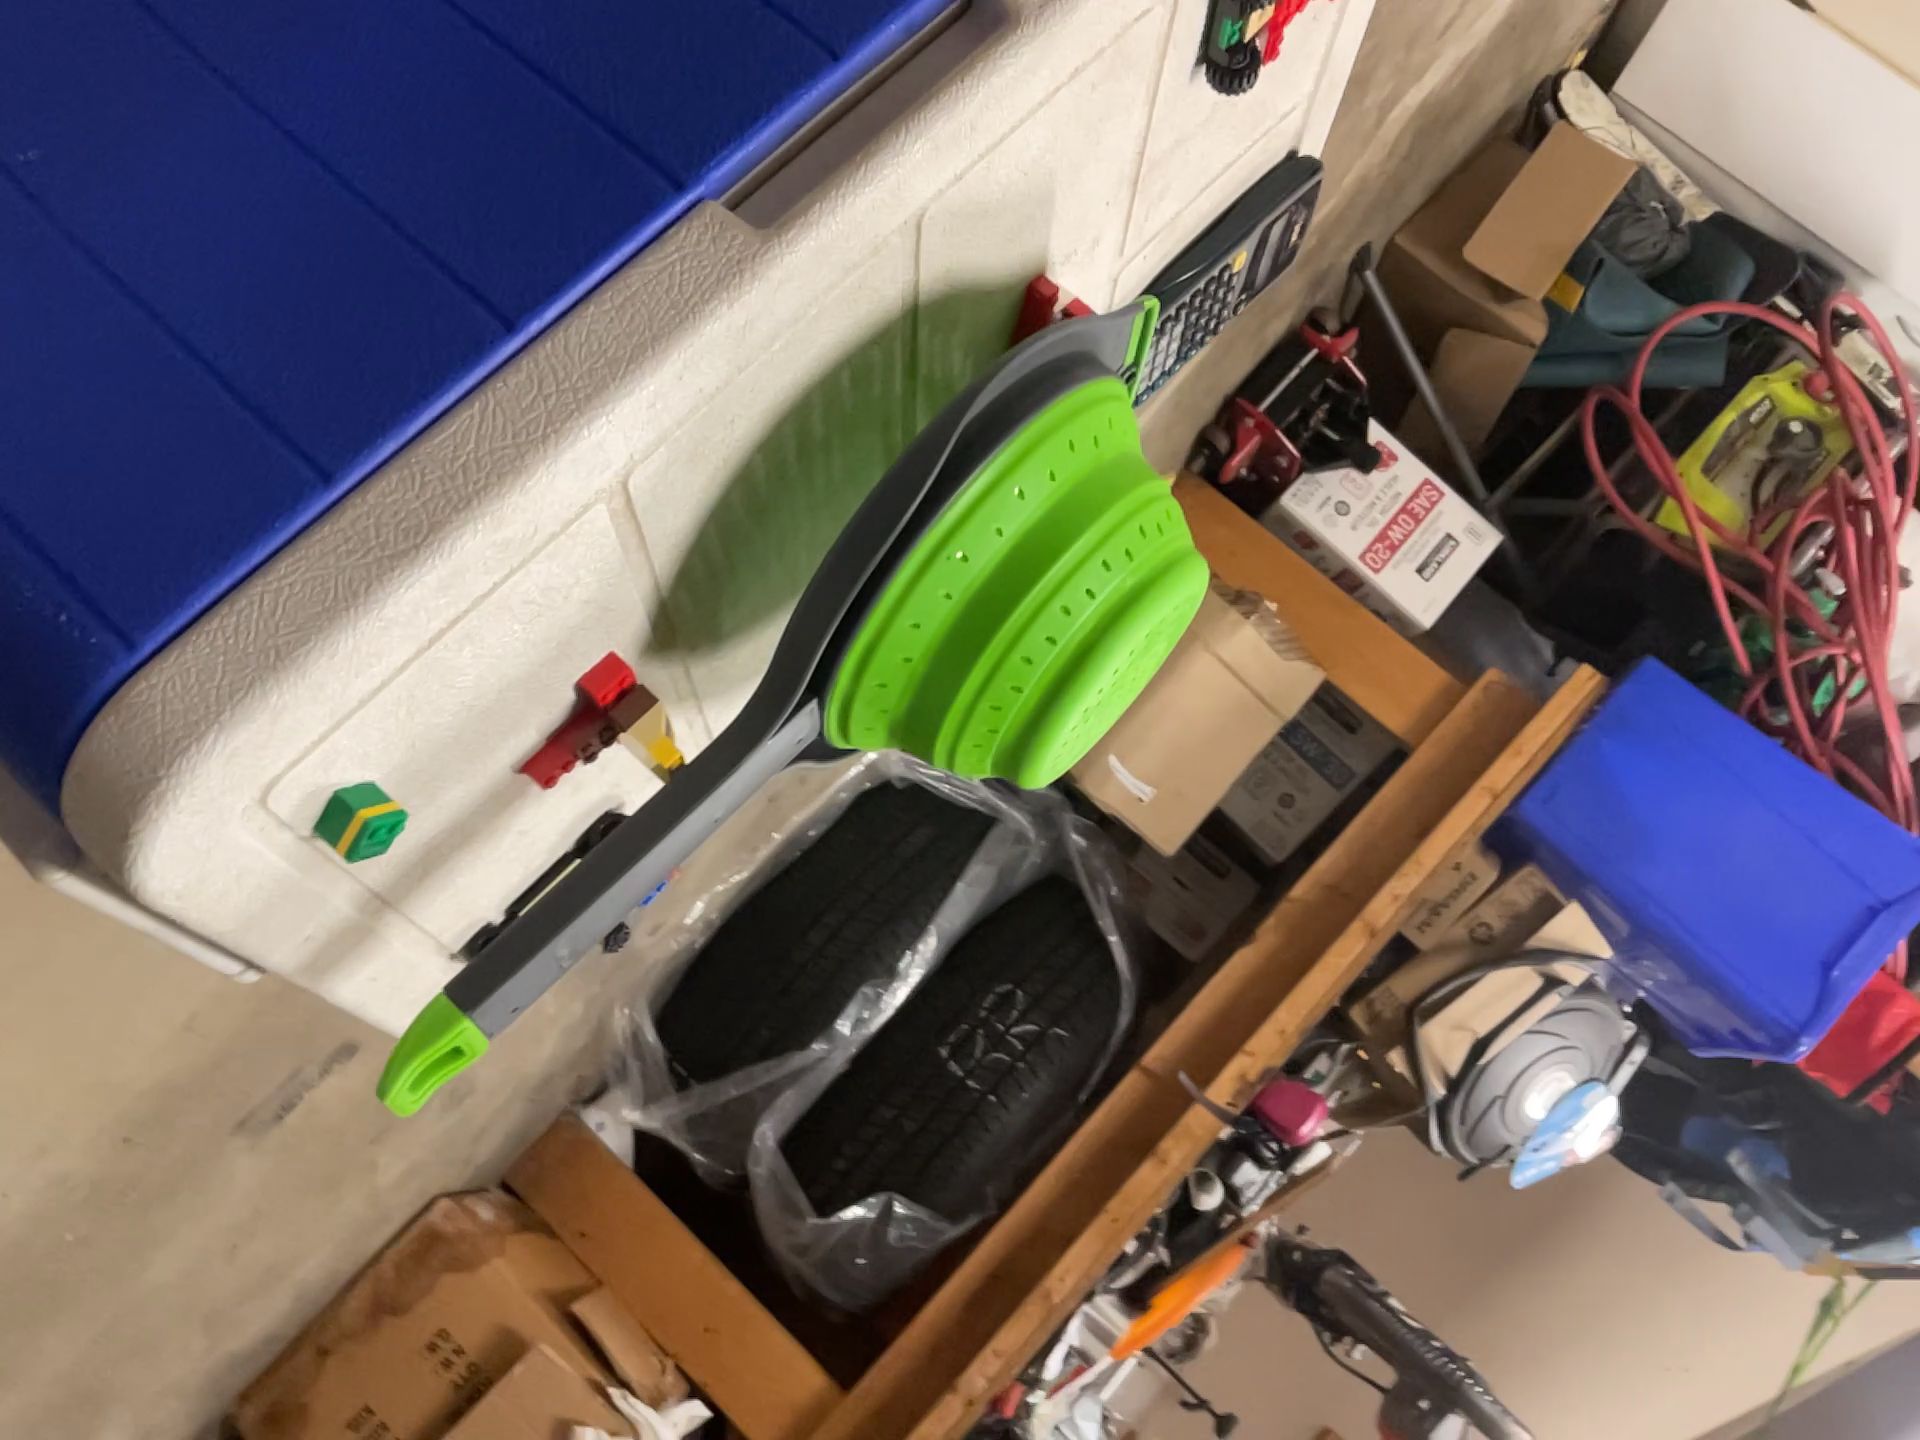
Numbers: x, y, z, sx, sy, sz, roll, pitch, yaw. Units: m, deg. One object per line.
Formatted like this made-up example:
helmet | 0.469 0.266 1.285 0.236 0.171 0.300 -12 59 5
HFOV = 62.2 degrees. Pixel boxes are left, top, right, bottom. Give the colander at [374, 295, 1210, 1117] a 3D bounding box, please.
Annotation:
colander | -0.027 0.012 0.571 0.397 0.094 0.204 -45 167 -21
